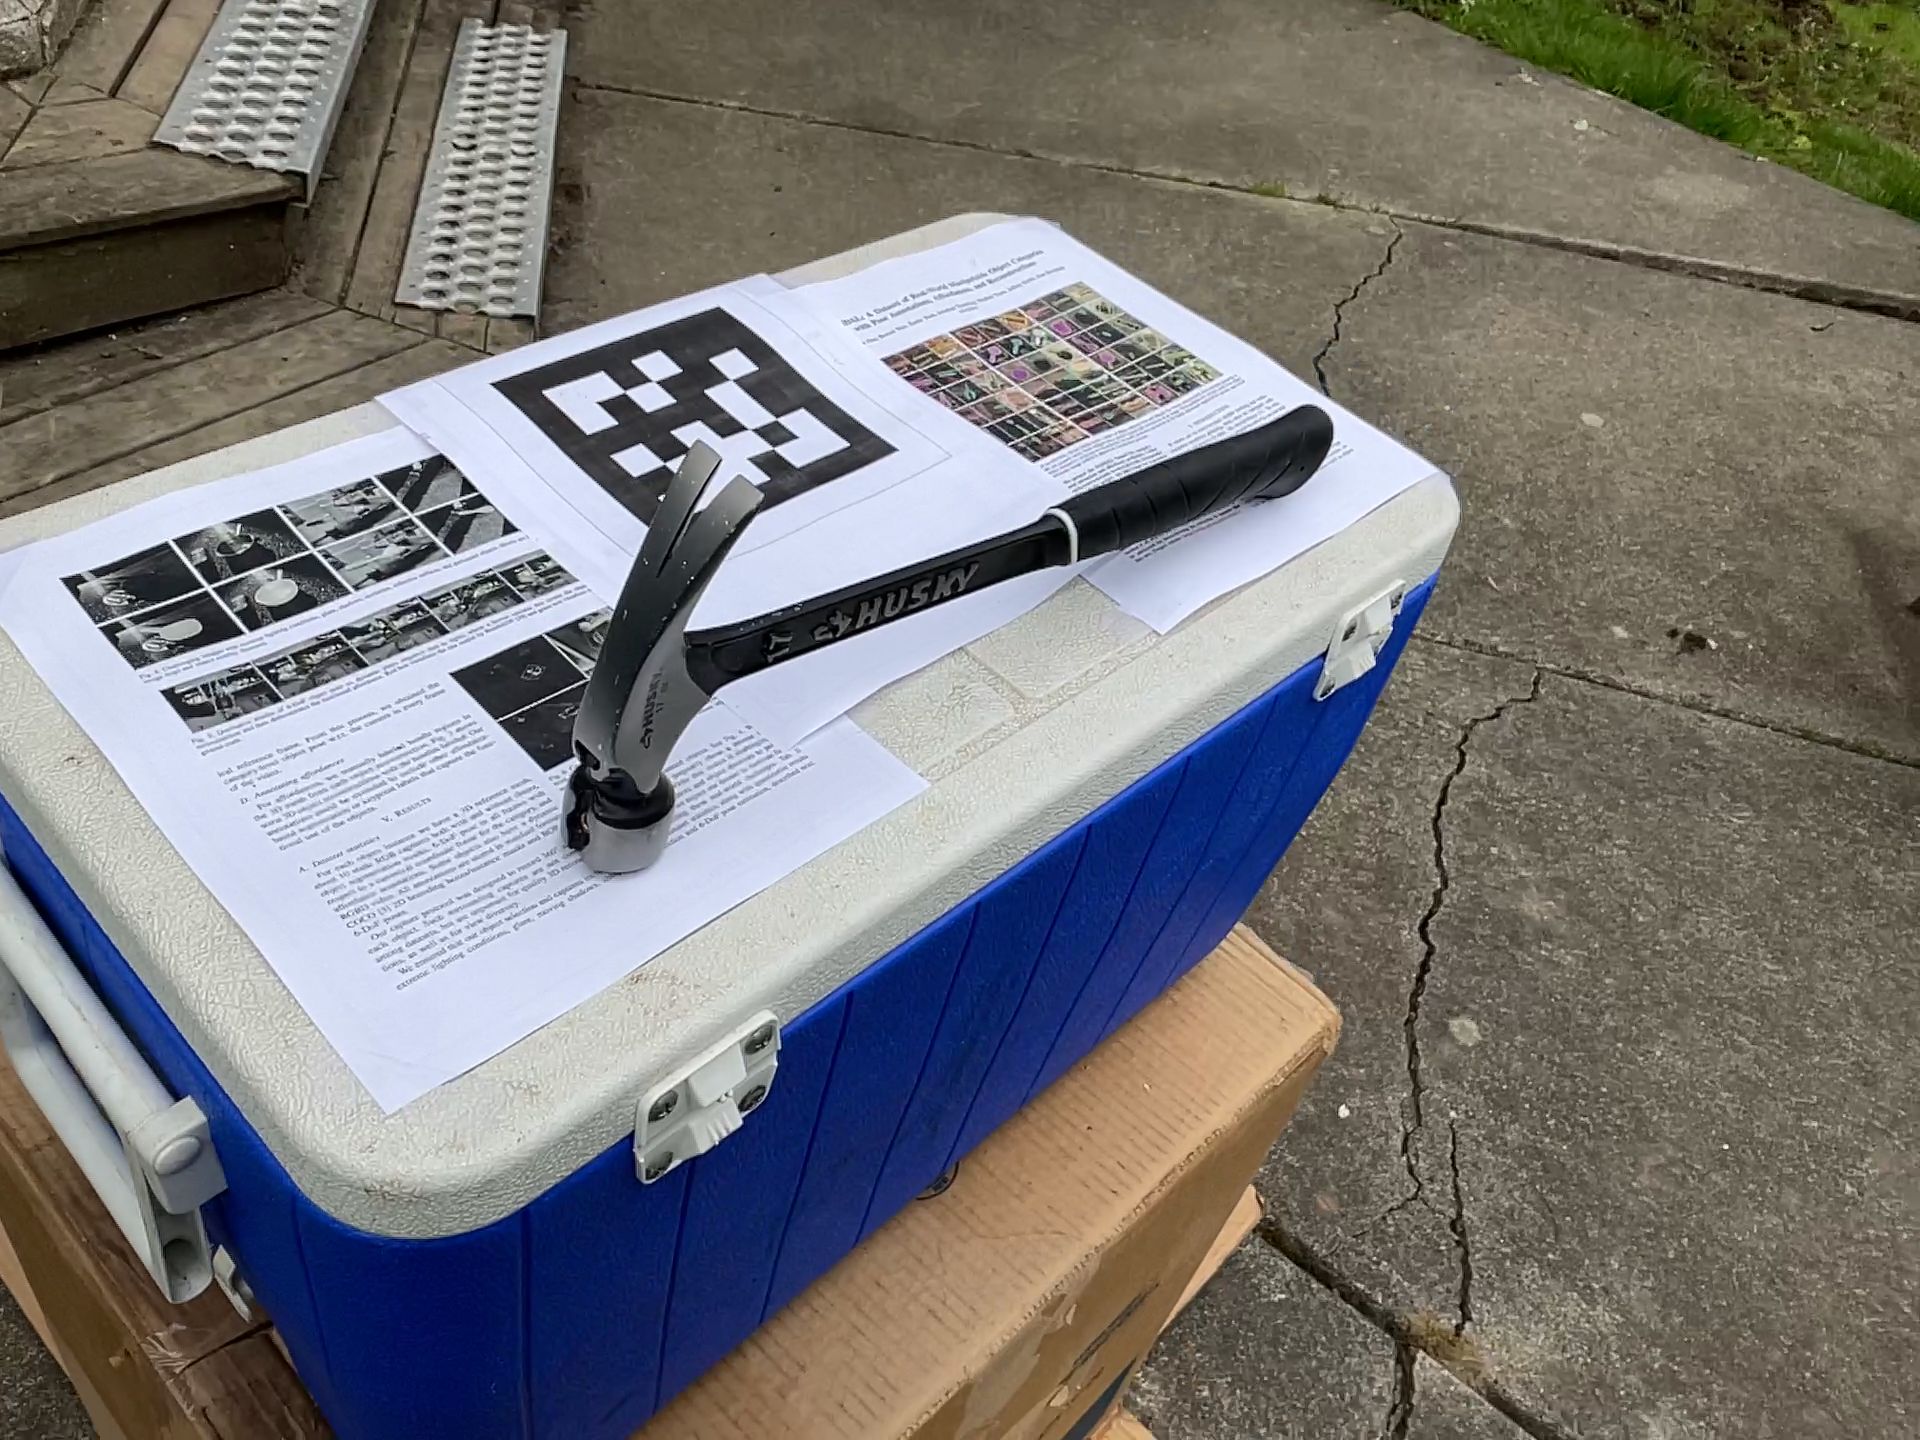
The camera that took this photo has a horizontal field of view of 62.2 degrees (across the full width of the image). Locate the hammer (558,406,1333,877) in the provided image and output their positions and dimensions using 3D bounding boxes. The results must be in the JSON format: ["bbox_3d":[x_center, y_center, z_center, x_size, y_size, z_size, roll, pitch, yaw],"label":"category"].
[{"bbox_3d":[0.027,-0.071,0.618,0.036,0.149,0.409,41,43,24],"label":"hammer"}]
